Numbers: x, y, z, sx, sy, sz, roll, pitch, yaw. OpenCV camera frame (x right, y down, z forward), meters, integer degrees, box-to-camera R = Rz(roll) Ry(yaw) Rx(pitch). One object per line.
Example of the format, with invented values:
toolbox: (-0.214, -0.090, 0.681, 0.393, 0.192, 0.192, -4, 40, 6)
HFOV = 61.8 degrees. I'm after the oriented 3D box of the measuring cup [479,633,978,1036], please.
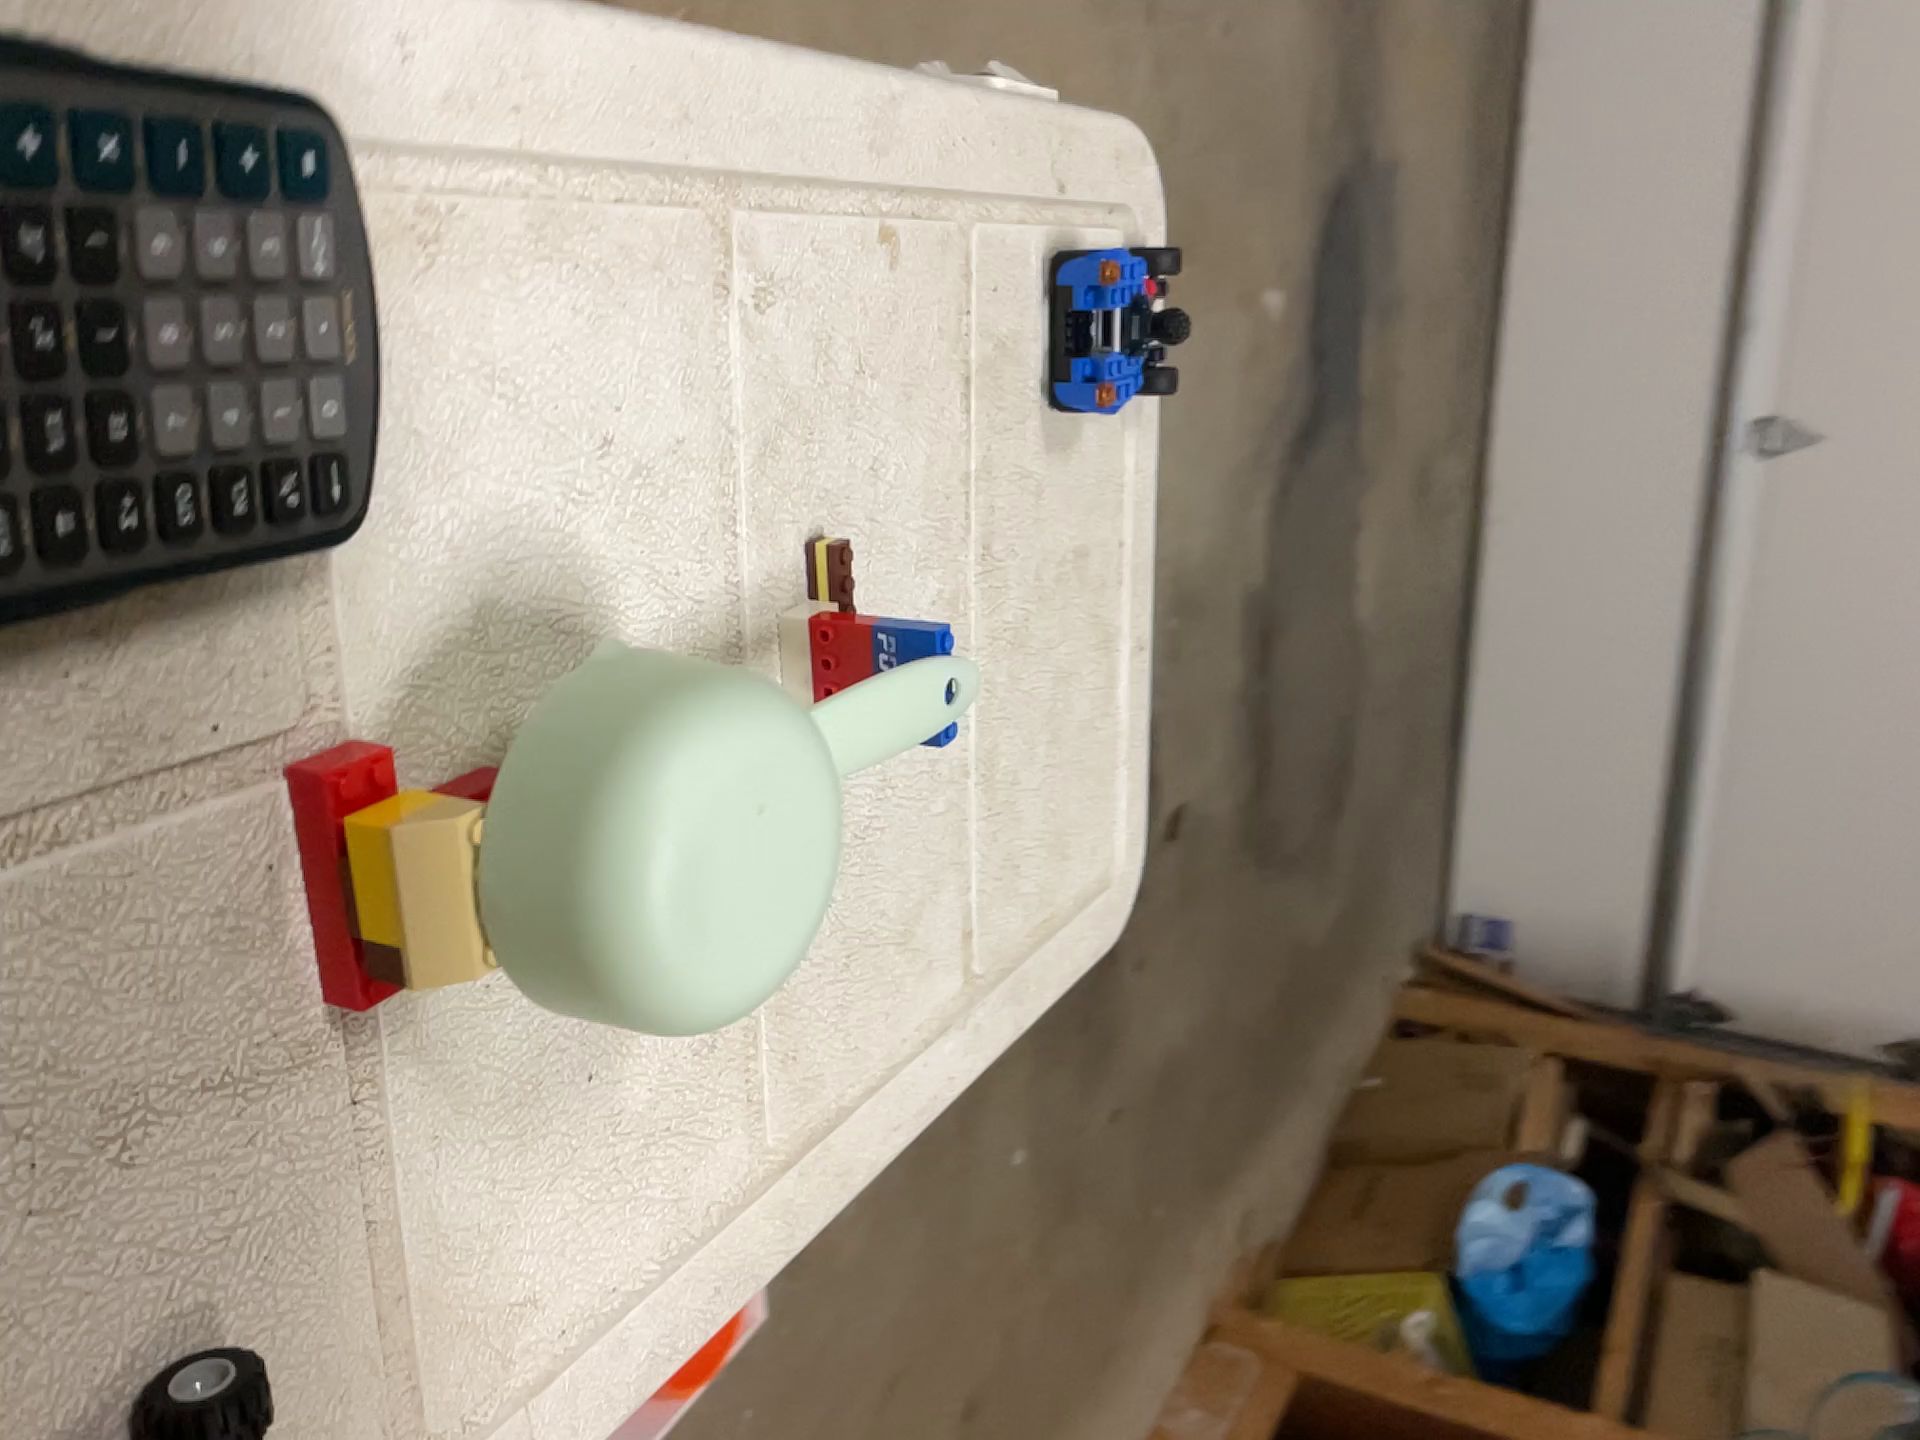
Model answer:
measuring cup: (-0.030, 0.013, 0.354, 0.168, 0.038, 0.083, -26, 120, -53)
